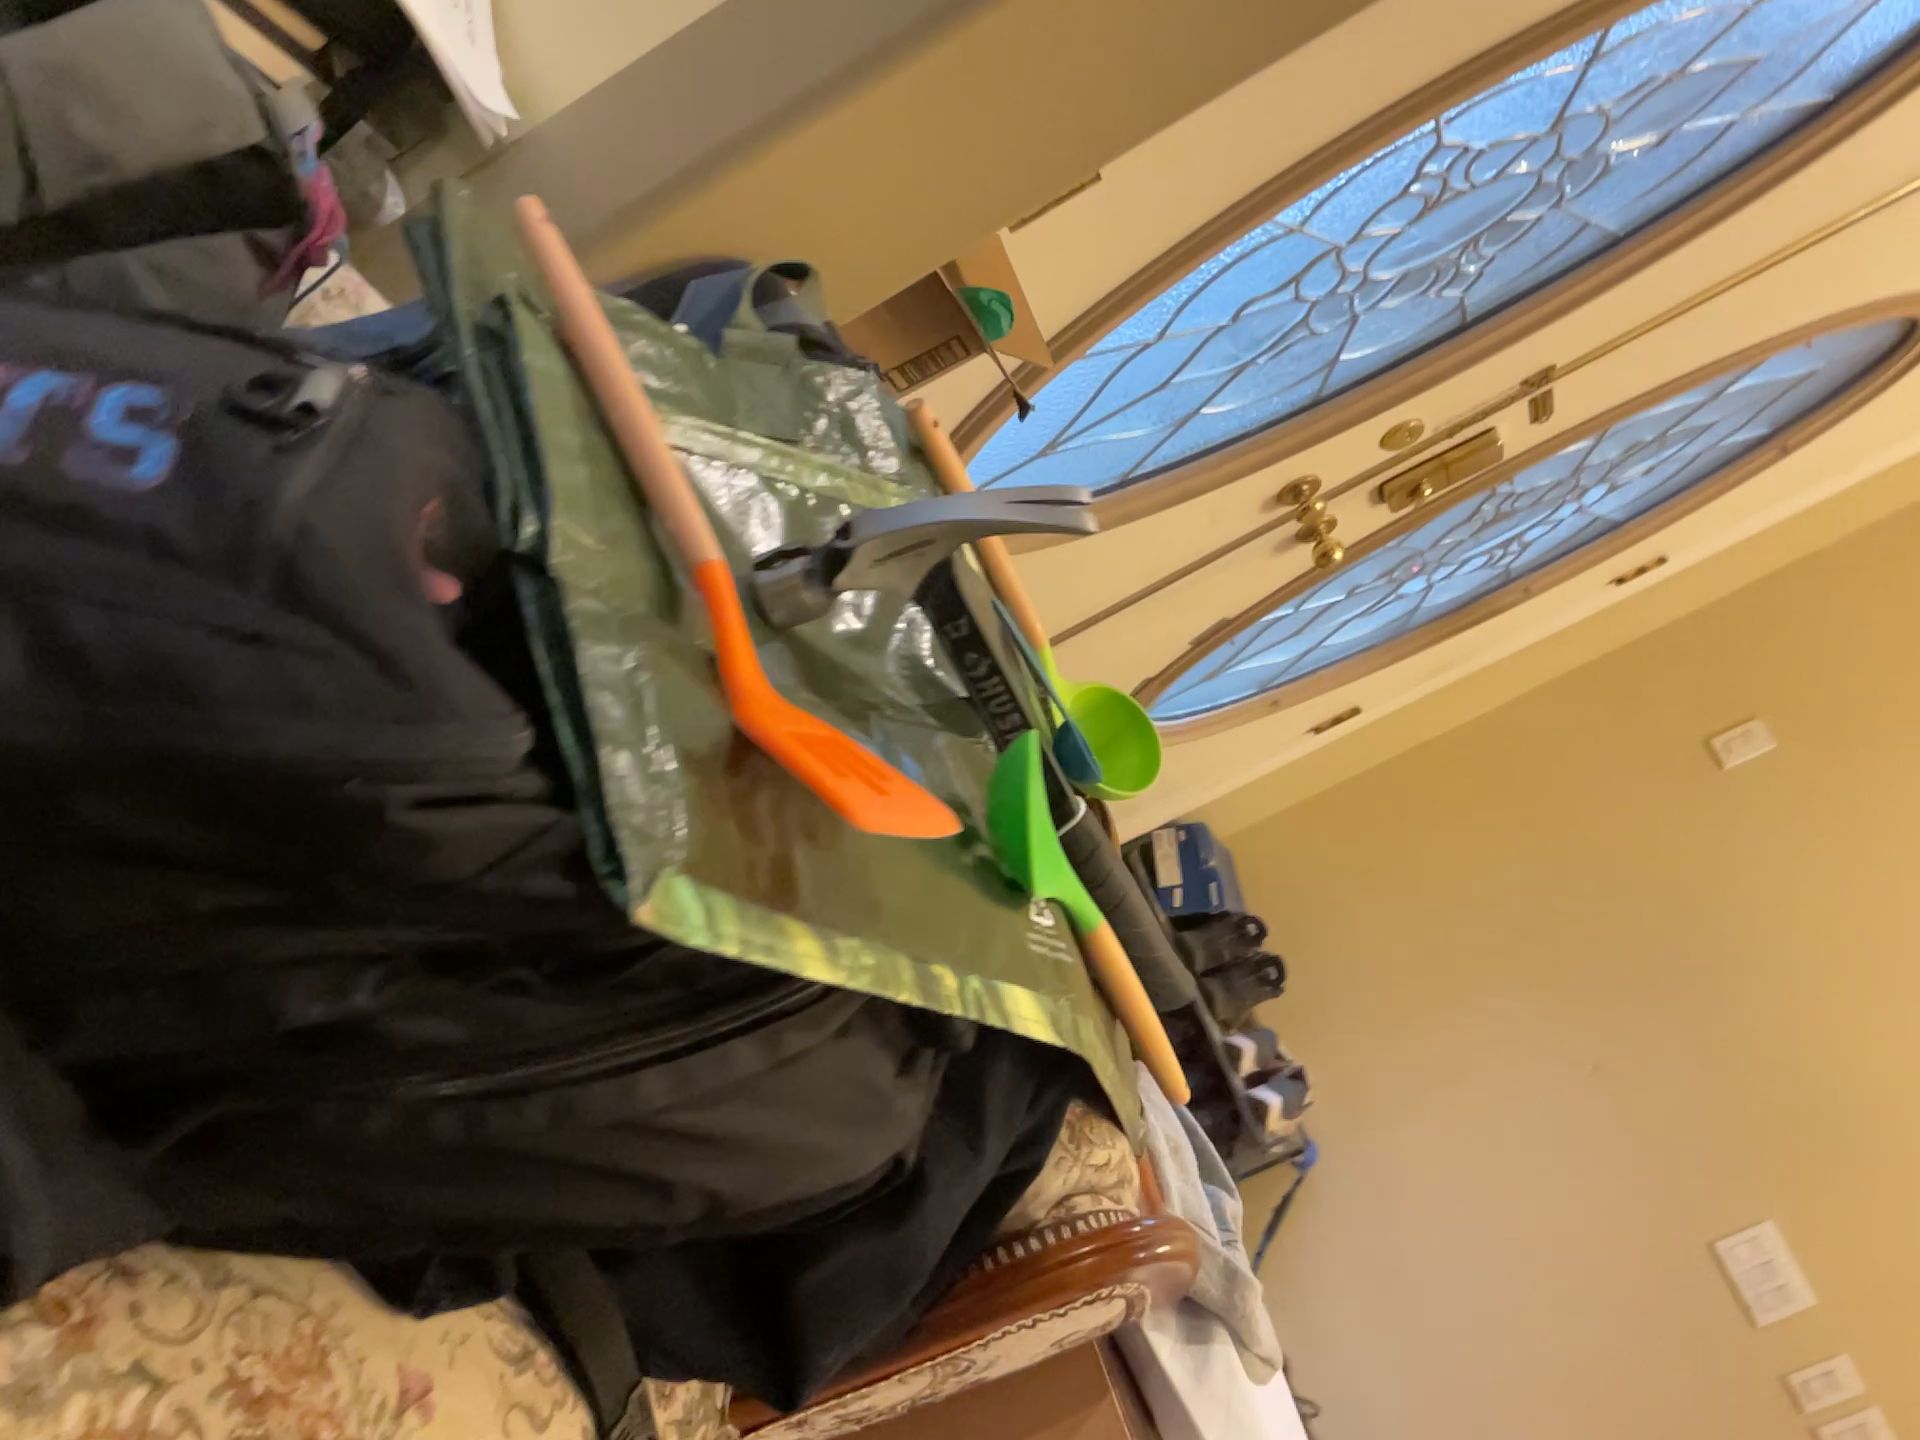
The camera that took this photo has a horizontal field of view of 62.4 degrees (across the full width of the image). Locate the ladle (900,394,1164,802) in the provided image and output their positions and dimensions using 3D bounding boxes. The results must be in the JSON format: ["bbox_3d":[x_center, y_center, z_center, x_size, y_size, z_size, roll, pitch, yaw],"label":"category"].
[{"bbox_3d":[0.045,-0.064,0.917,0.319,0.062,0.078,59,36,-43],"label":"ladle"}]

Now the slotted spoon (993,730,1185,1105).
[{"bbox_3d":[0.069,0.115,0.778,0.313,0.031,0.070,62,23,-46],"label":"slotted spoon"}]

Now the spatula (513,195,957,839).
[{"bbox_3d":[-0.101,-0.084,0.611,0.323,0.041,0.081,62,20,17],"label":"spatula"}]

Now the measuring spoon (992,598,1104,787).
[{"bbox_3d":[0.043,-0.012,0.890,0.128,0.021,0.042,58,11,-22],"label":"measuring spoon"}]

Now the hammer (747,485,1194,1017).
[{"bbox_3d":[0.050,0.038,0.805,0.408,0.149,0.036,59,19,-44],"label":"hammer"}]
